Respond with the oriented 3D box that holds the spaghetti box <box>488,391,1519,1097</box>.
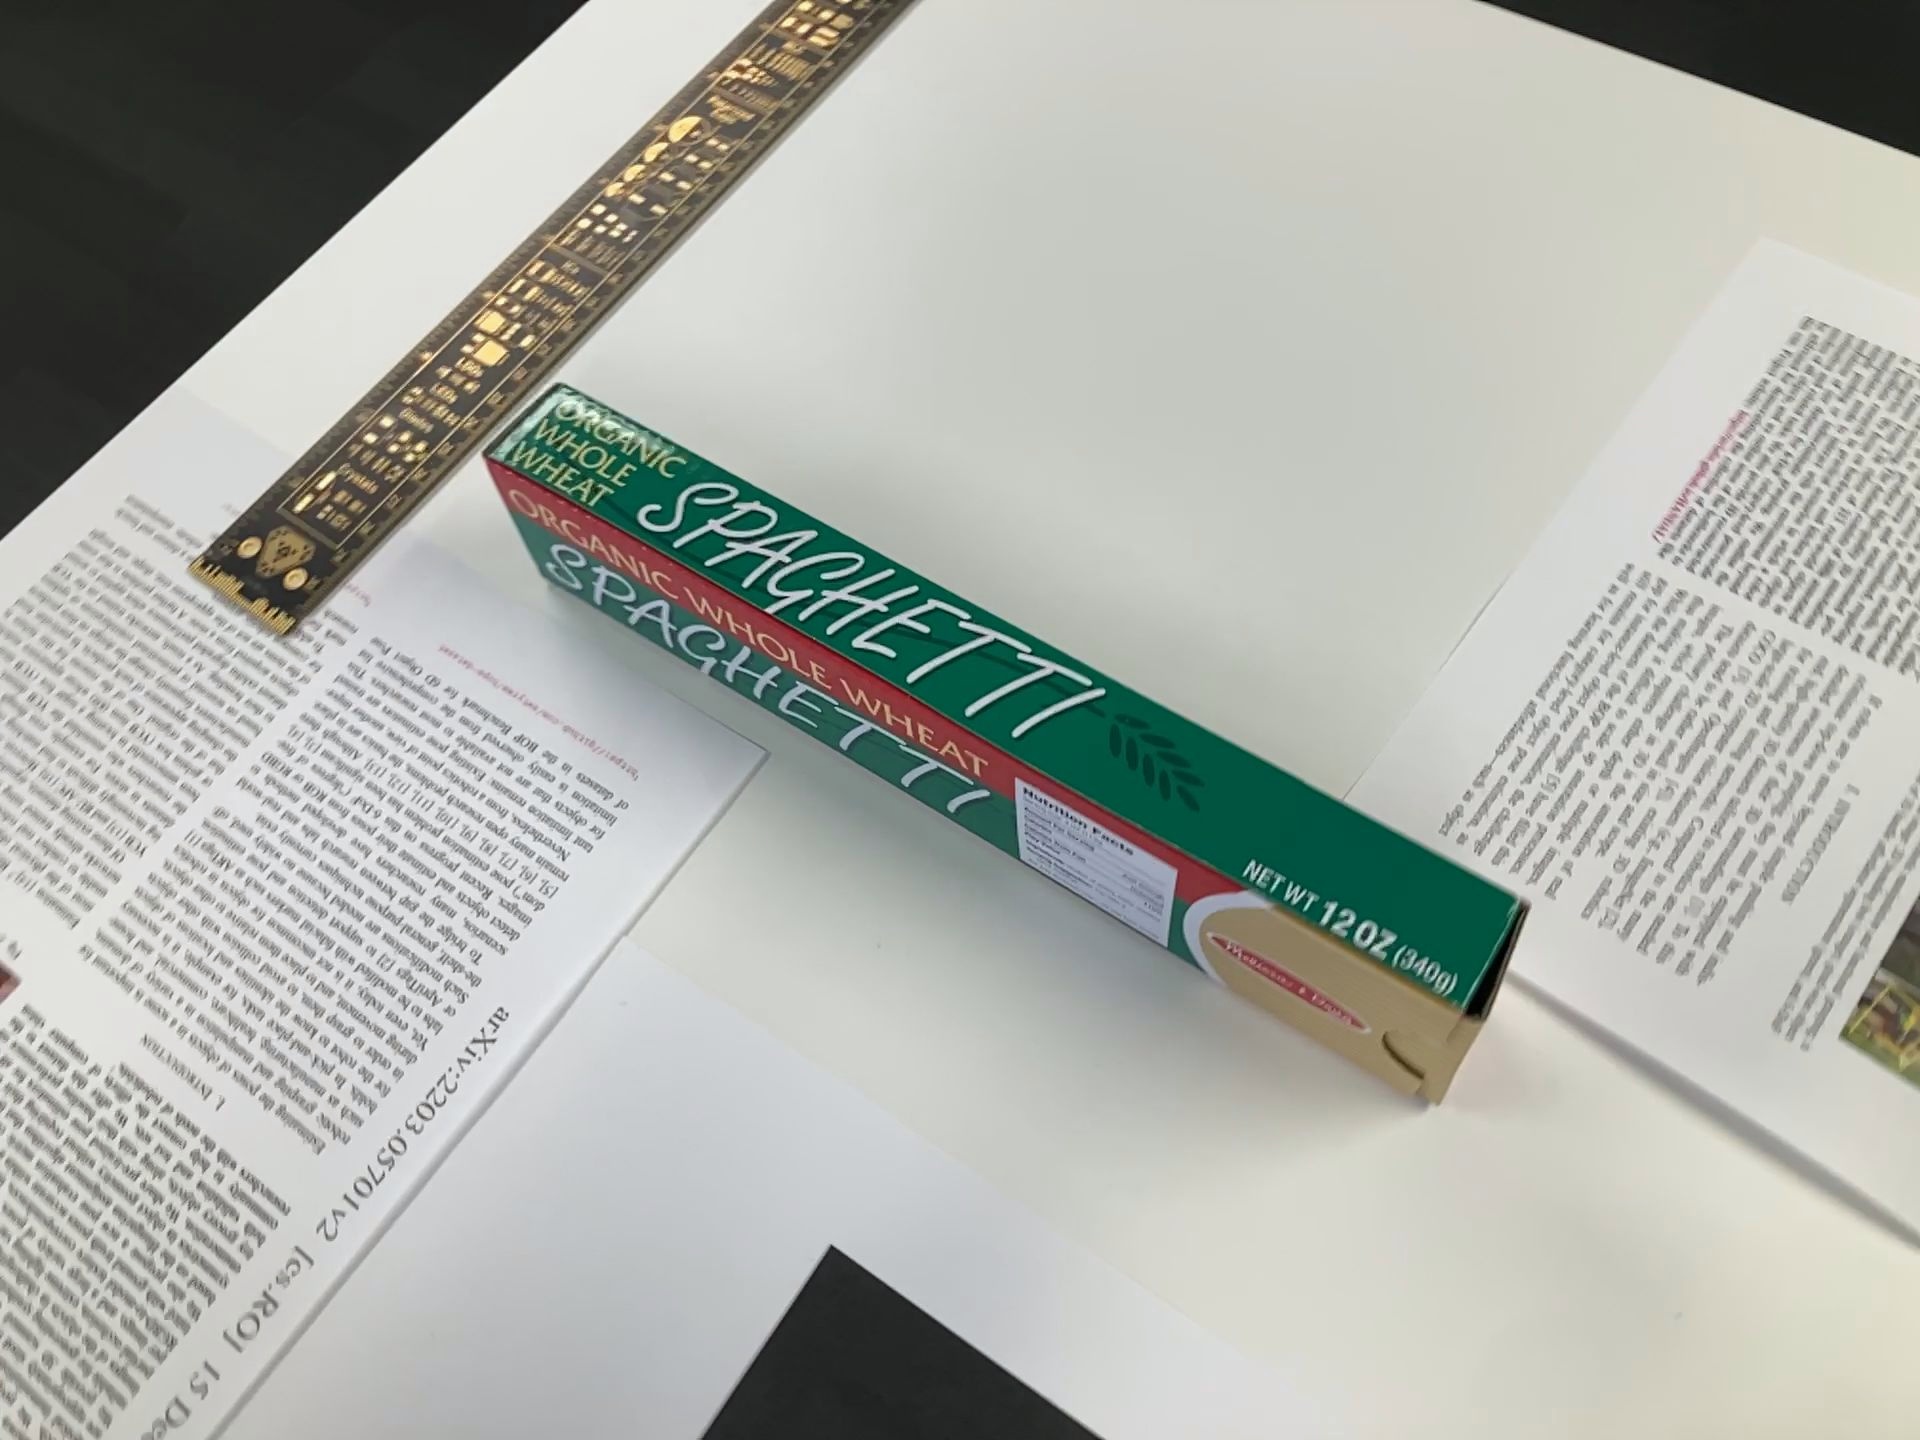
[{"bbox_3d":[-0.002,-0.001,0.354,0.250,0.050,0.028,30,65,19],"label":"spaghetti box"}]
